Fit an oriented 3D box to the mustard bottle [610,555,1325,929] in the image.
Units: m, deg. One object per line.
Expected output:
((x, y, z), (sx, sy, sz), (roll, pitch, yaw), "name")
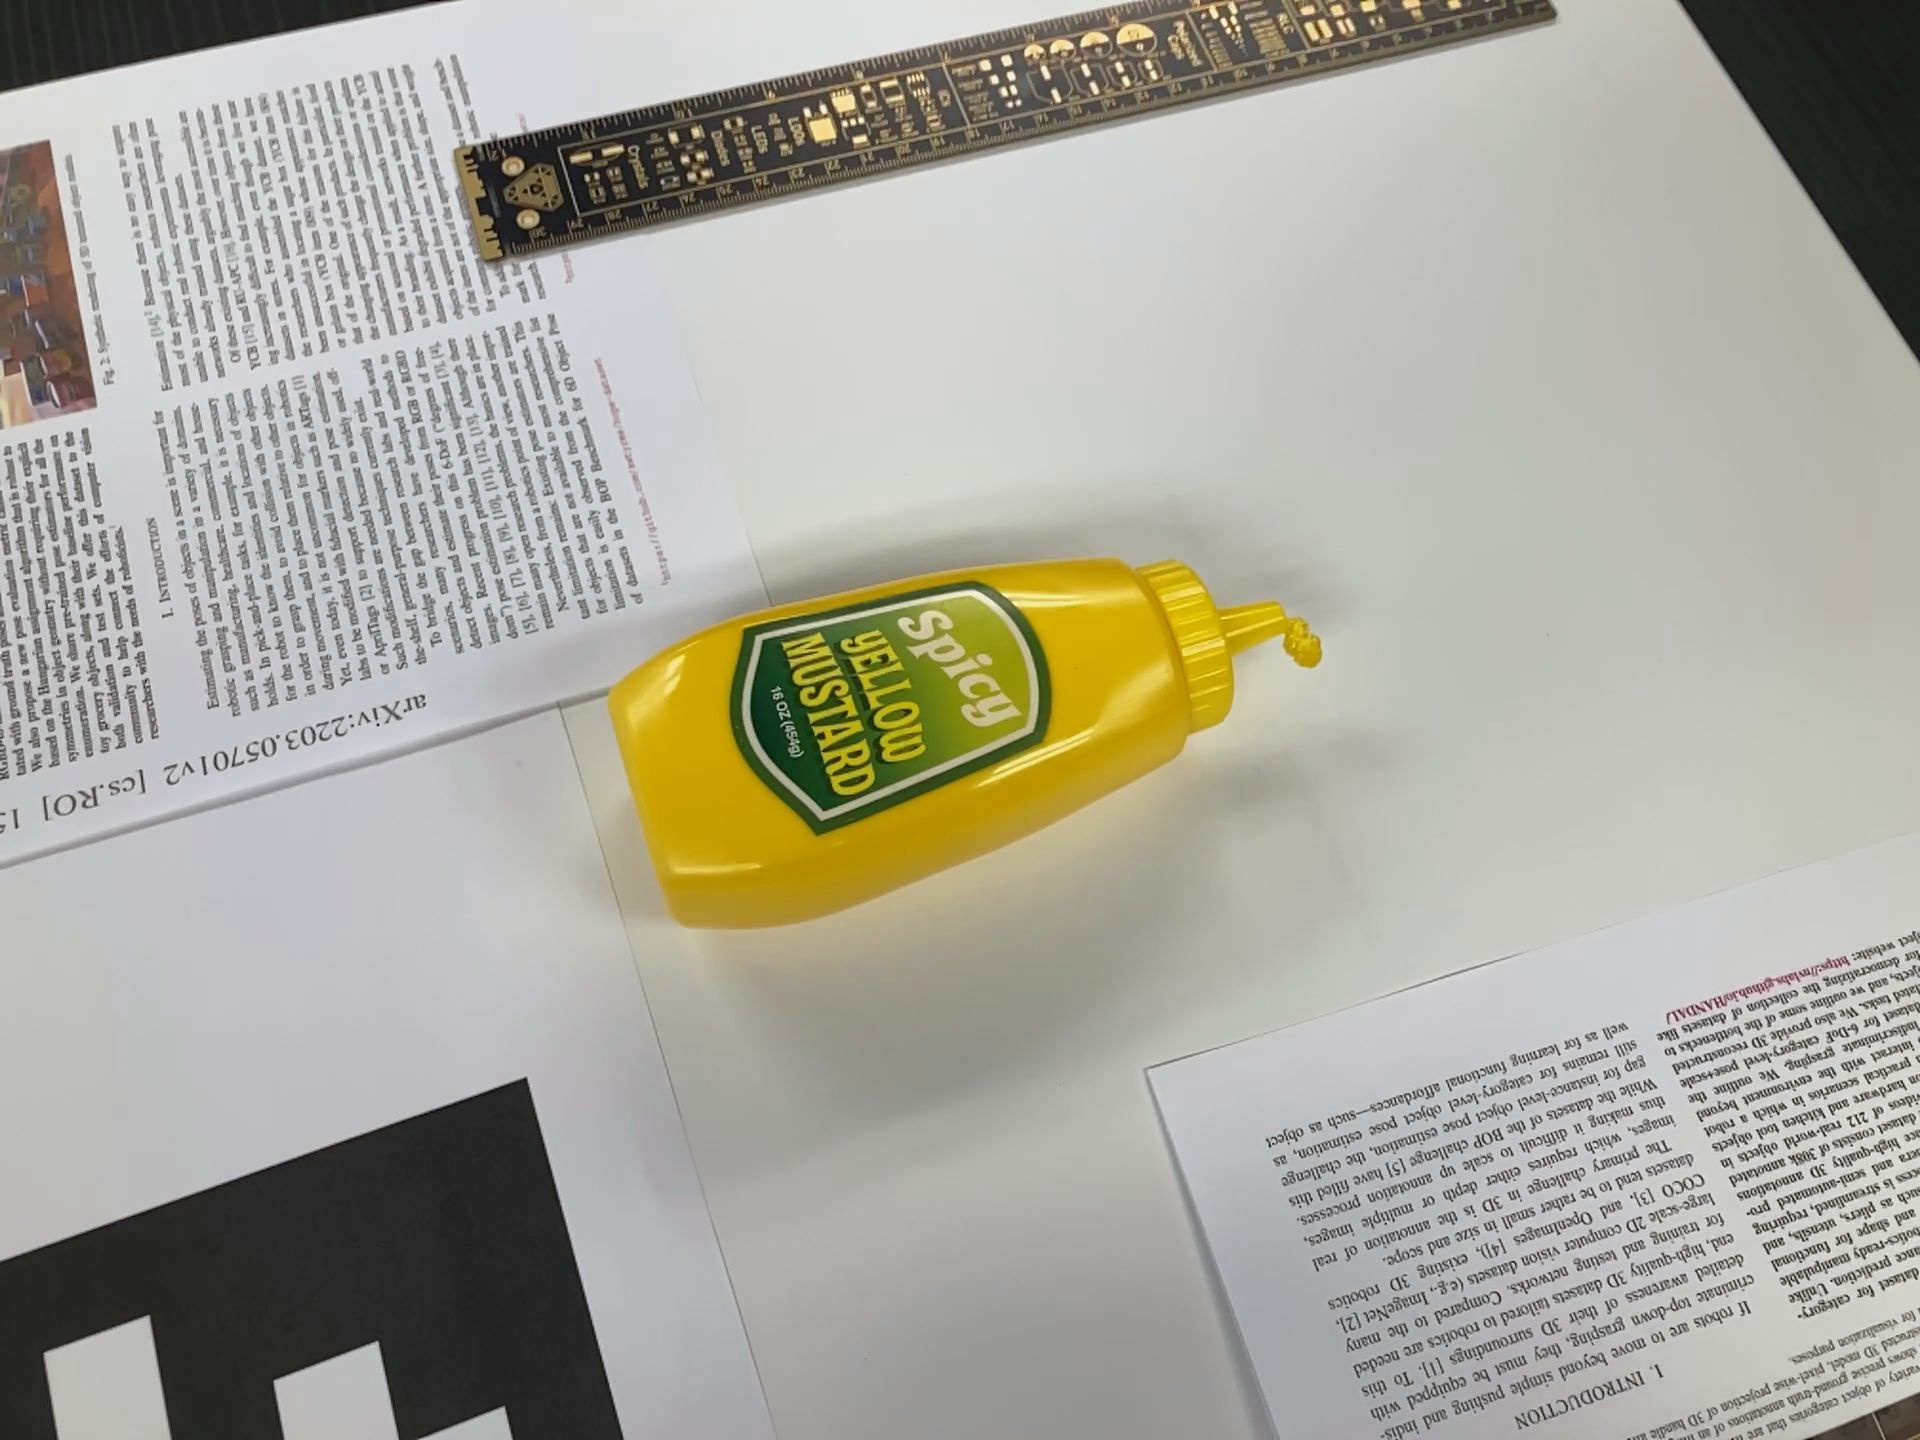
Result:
((0.007, -0.005, 0.348), (0.160, 0.049, 0.065), (-18, 71, -11), "mustard bottle")
